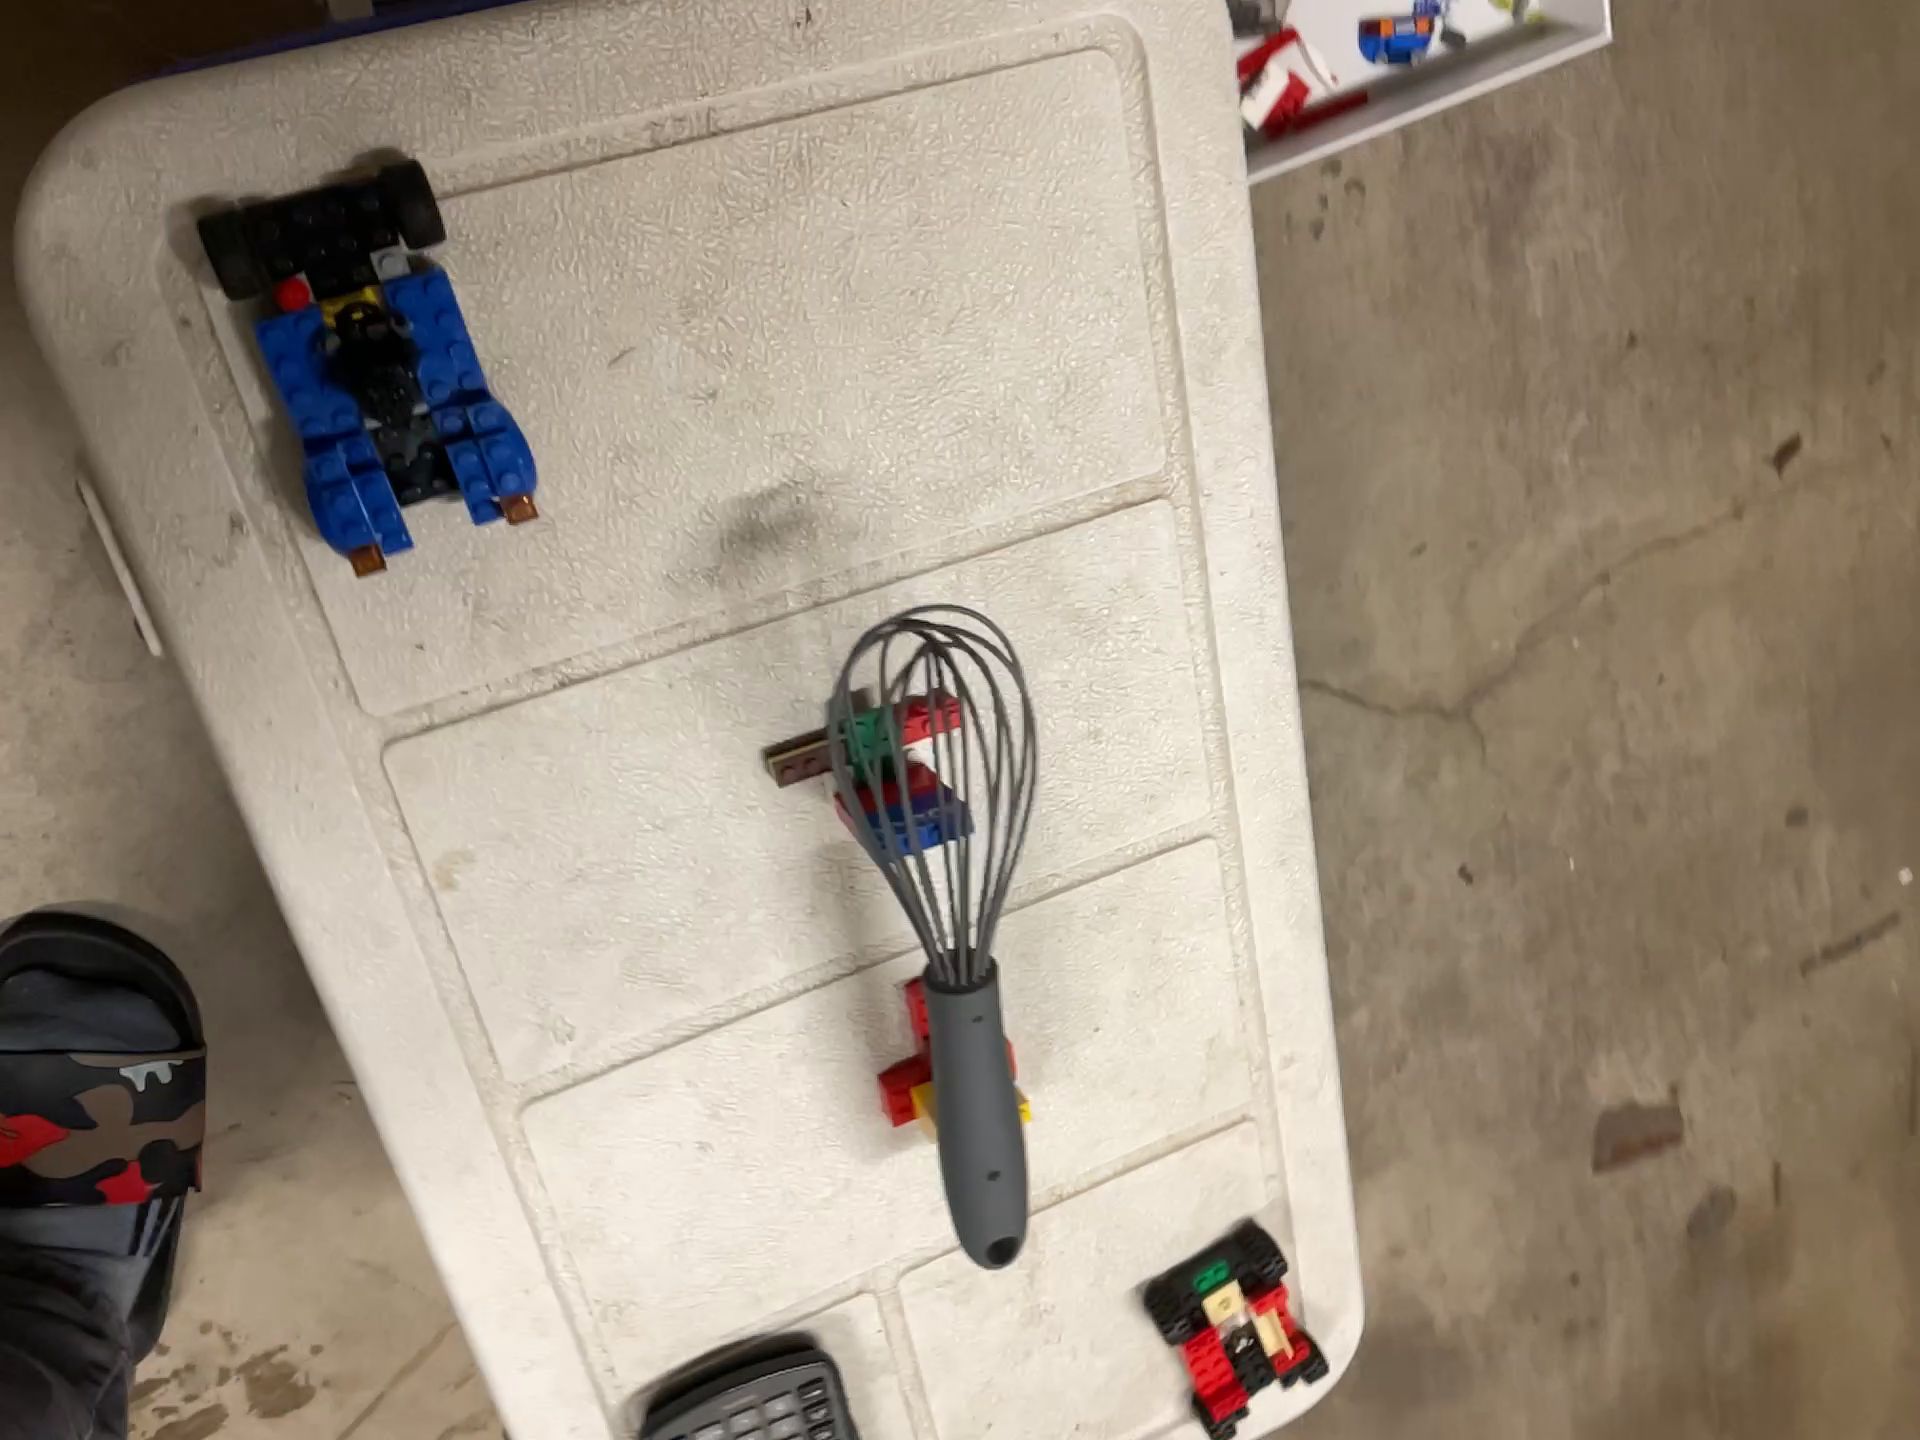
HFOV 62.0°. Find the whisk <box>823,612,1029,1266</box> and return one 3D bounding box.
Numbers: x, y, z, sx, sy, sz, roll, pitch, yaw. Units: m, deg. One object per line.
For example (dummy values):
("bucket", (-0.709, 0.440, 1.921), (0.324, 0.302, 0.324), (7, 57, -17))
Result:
("whisk", (-0.002, 0.075, 0.474), (0.055, 0.055, 0.239), (-15, 120, -16))
